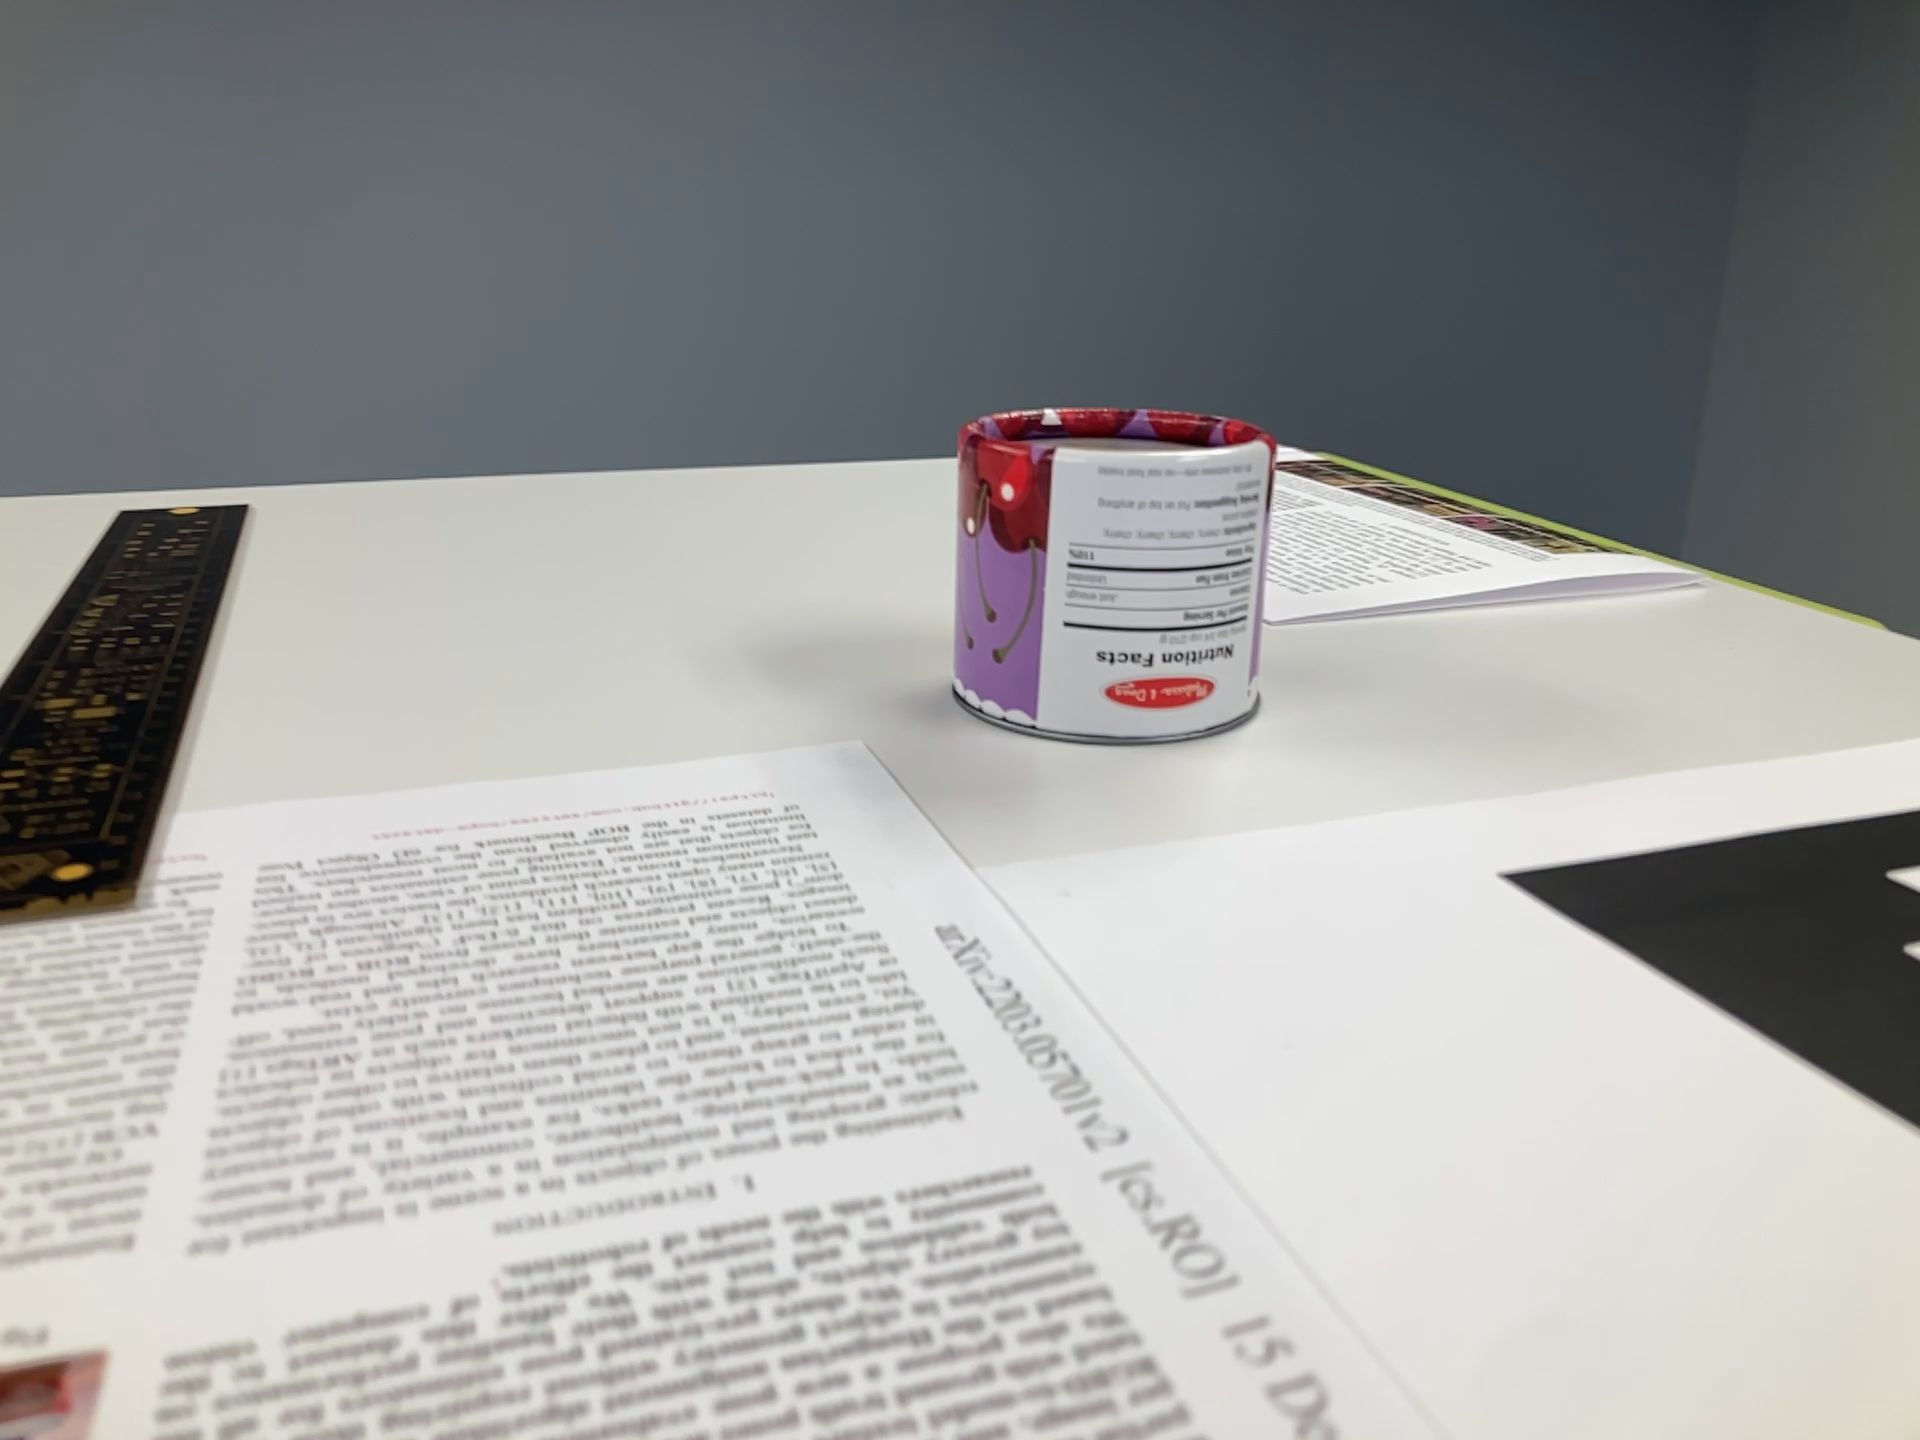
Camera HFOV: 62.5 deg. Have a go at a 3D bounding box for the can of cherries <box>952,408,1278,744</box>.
[{"bbox_3d":[0.030,-0.033,0.334,0.071,0.058,0.071,0,18,0],"label":"can of cherries"}]
